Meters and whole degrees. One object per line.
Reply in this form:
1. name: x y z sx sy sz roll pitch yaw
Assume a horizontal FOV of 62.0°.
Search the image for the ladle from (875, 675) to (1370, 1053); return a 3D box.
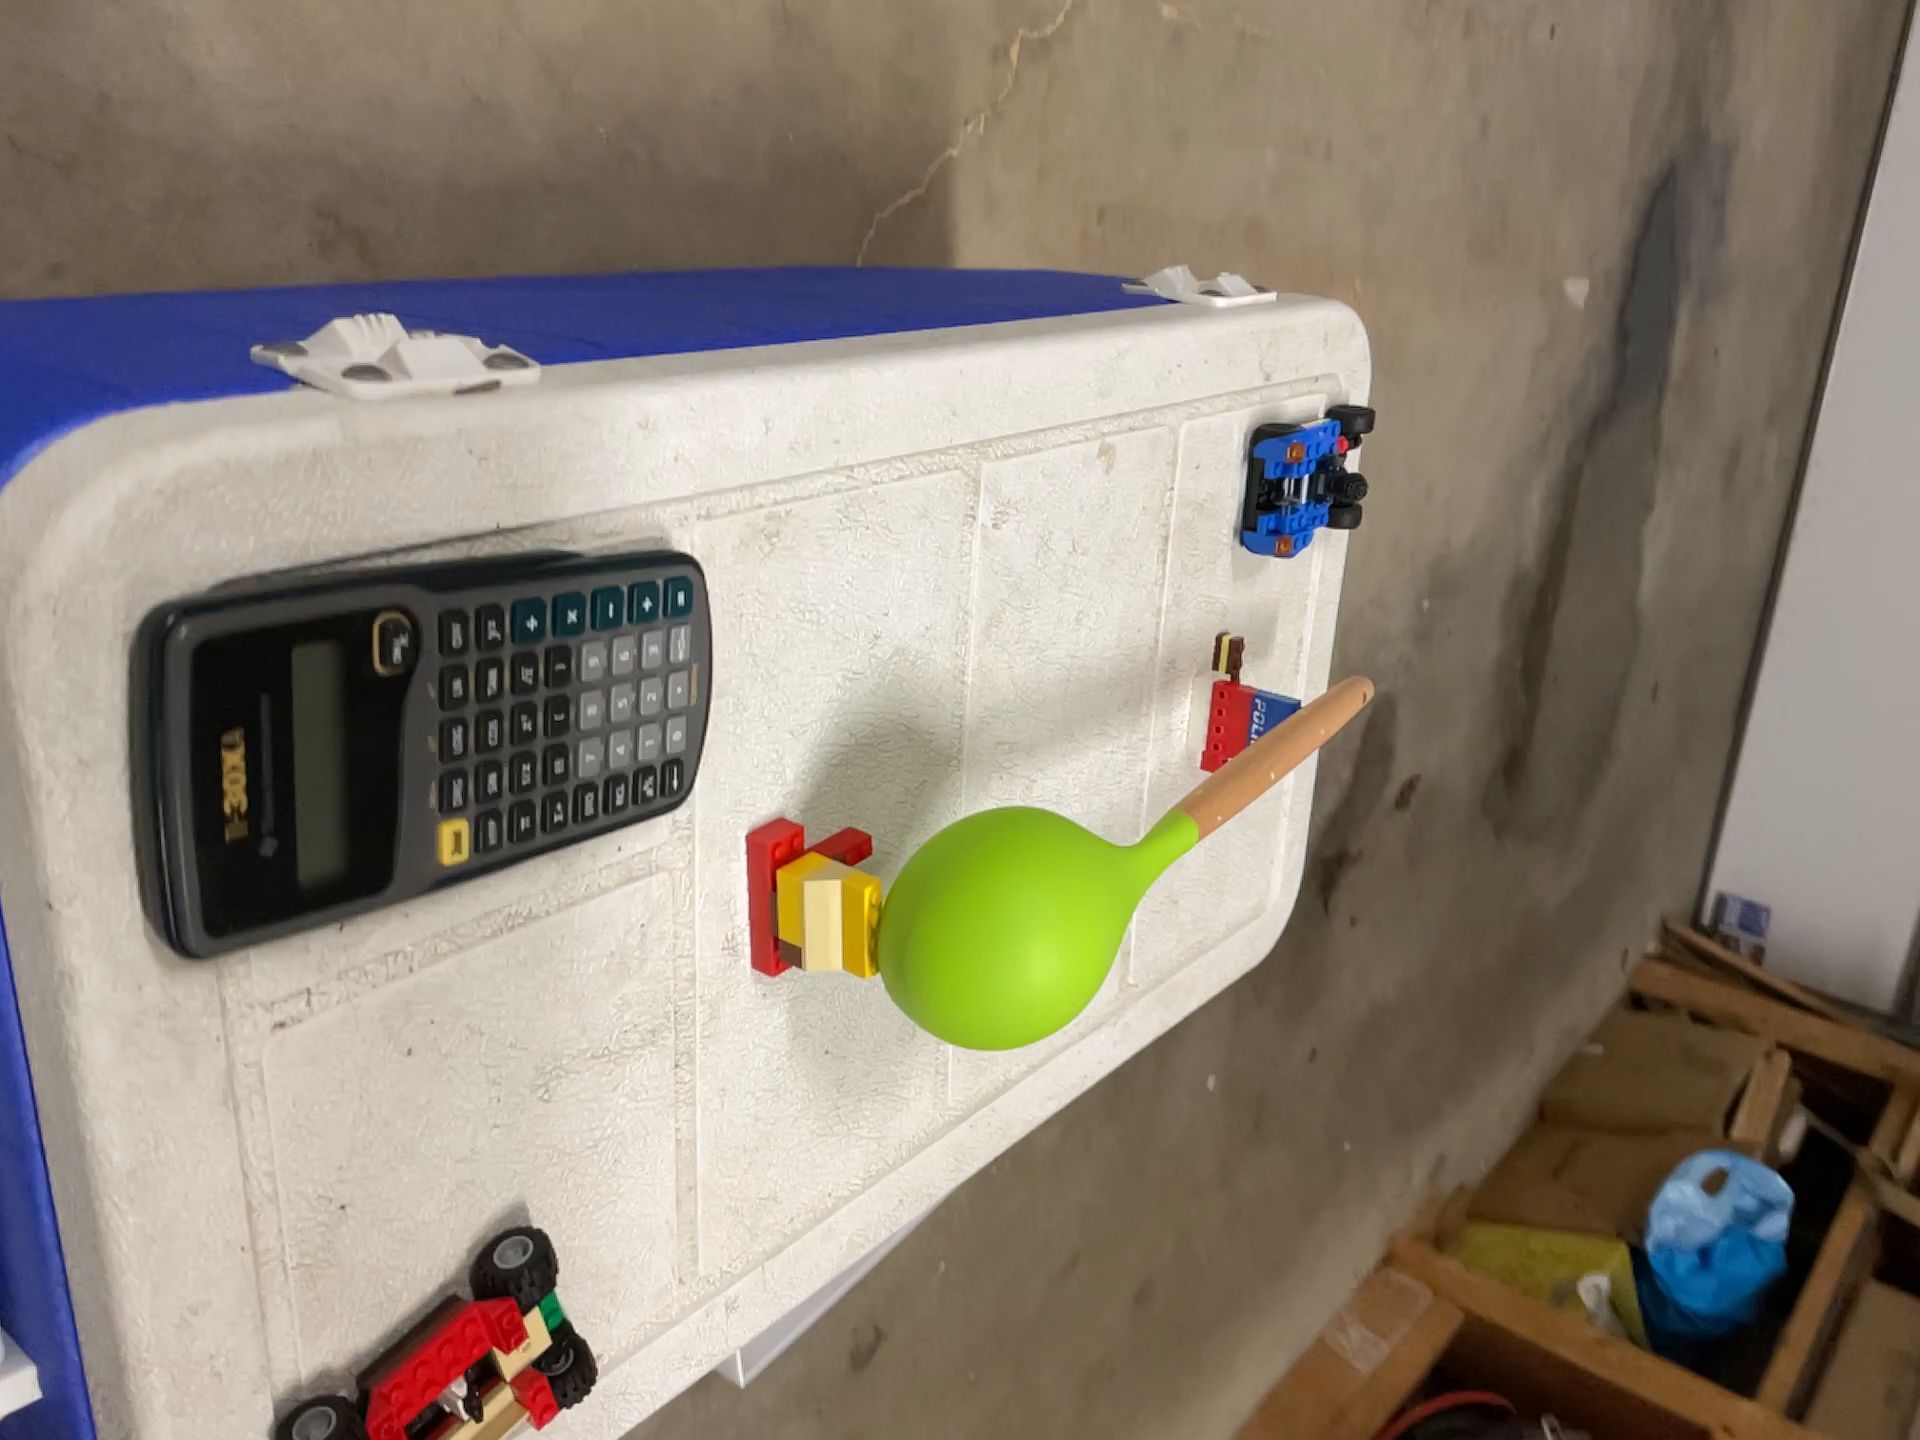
1. ladle: 0.080 0.030 0.589 0.320 0.062 0.078 -28 121 -53
